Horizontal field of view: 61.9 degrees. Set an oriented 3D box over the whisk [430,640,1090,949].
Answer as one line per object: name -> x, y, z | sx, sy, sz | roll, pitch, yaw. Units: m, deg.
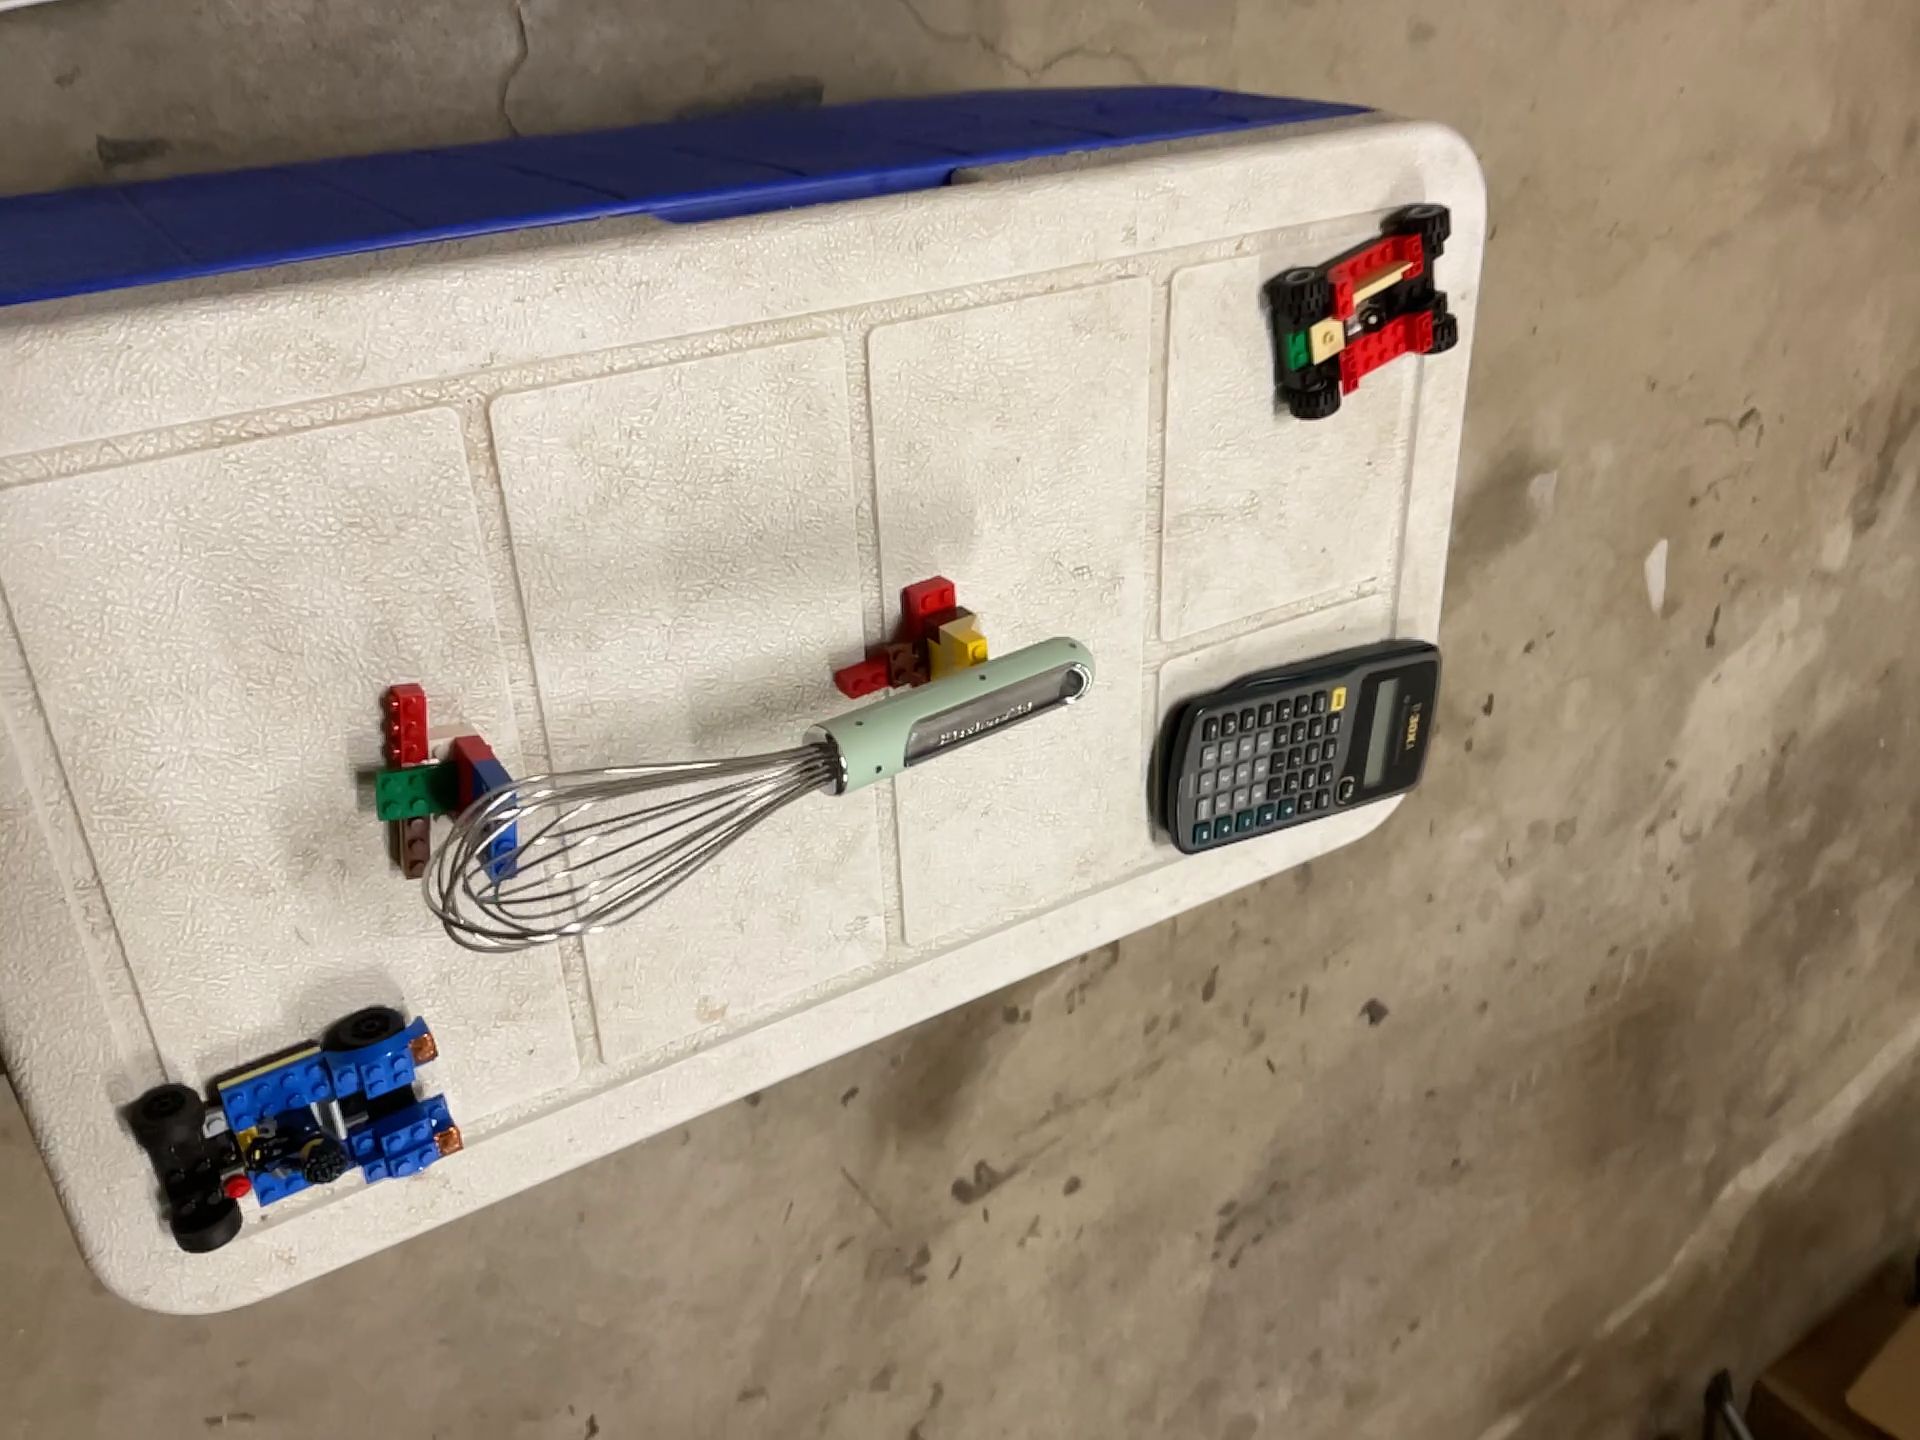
whisk -> -0.051, 0.016, 0.518 | 0.246, 0.059, 0.057 | -21, 130, -34
